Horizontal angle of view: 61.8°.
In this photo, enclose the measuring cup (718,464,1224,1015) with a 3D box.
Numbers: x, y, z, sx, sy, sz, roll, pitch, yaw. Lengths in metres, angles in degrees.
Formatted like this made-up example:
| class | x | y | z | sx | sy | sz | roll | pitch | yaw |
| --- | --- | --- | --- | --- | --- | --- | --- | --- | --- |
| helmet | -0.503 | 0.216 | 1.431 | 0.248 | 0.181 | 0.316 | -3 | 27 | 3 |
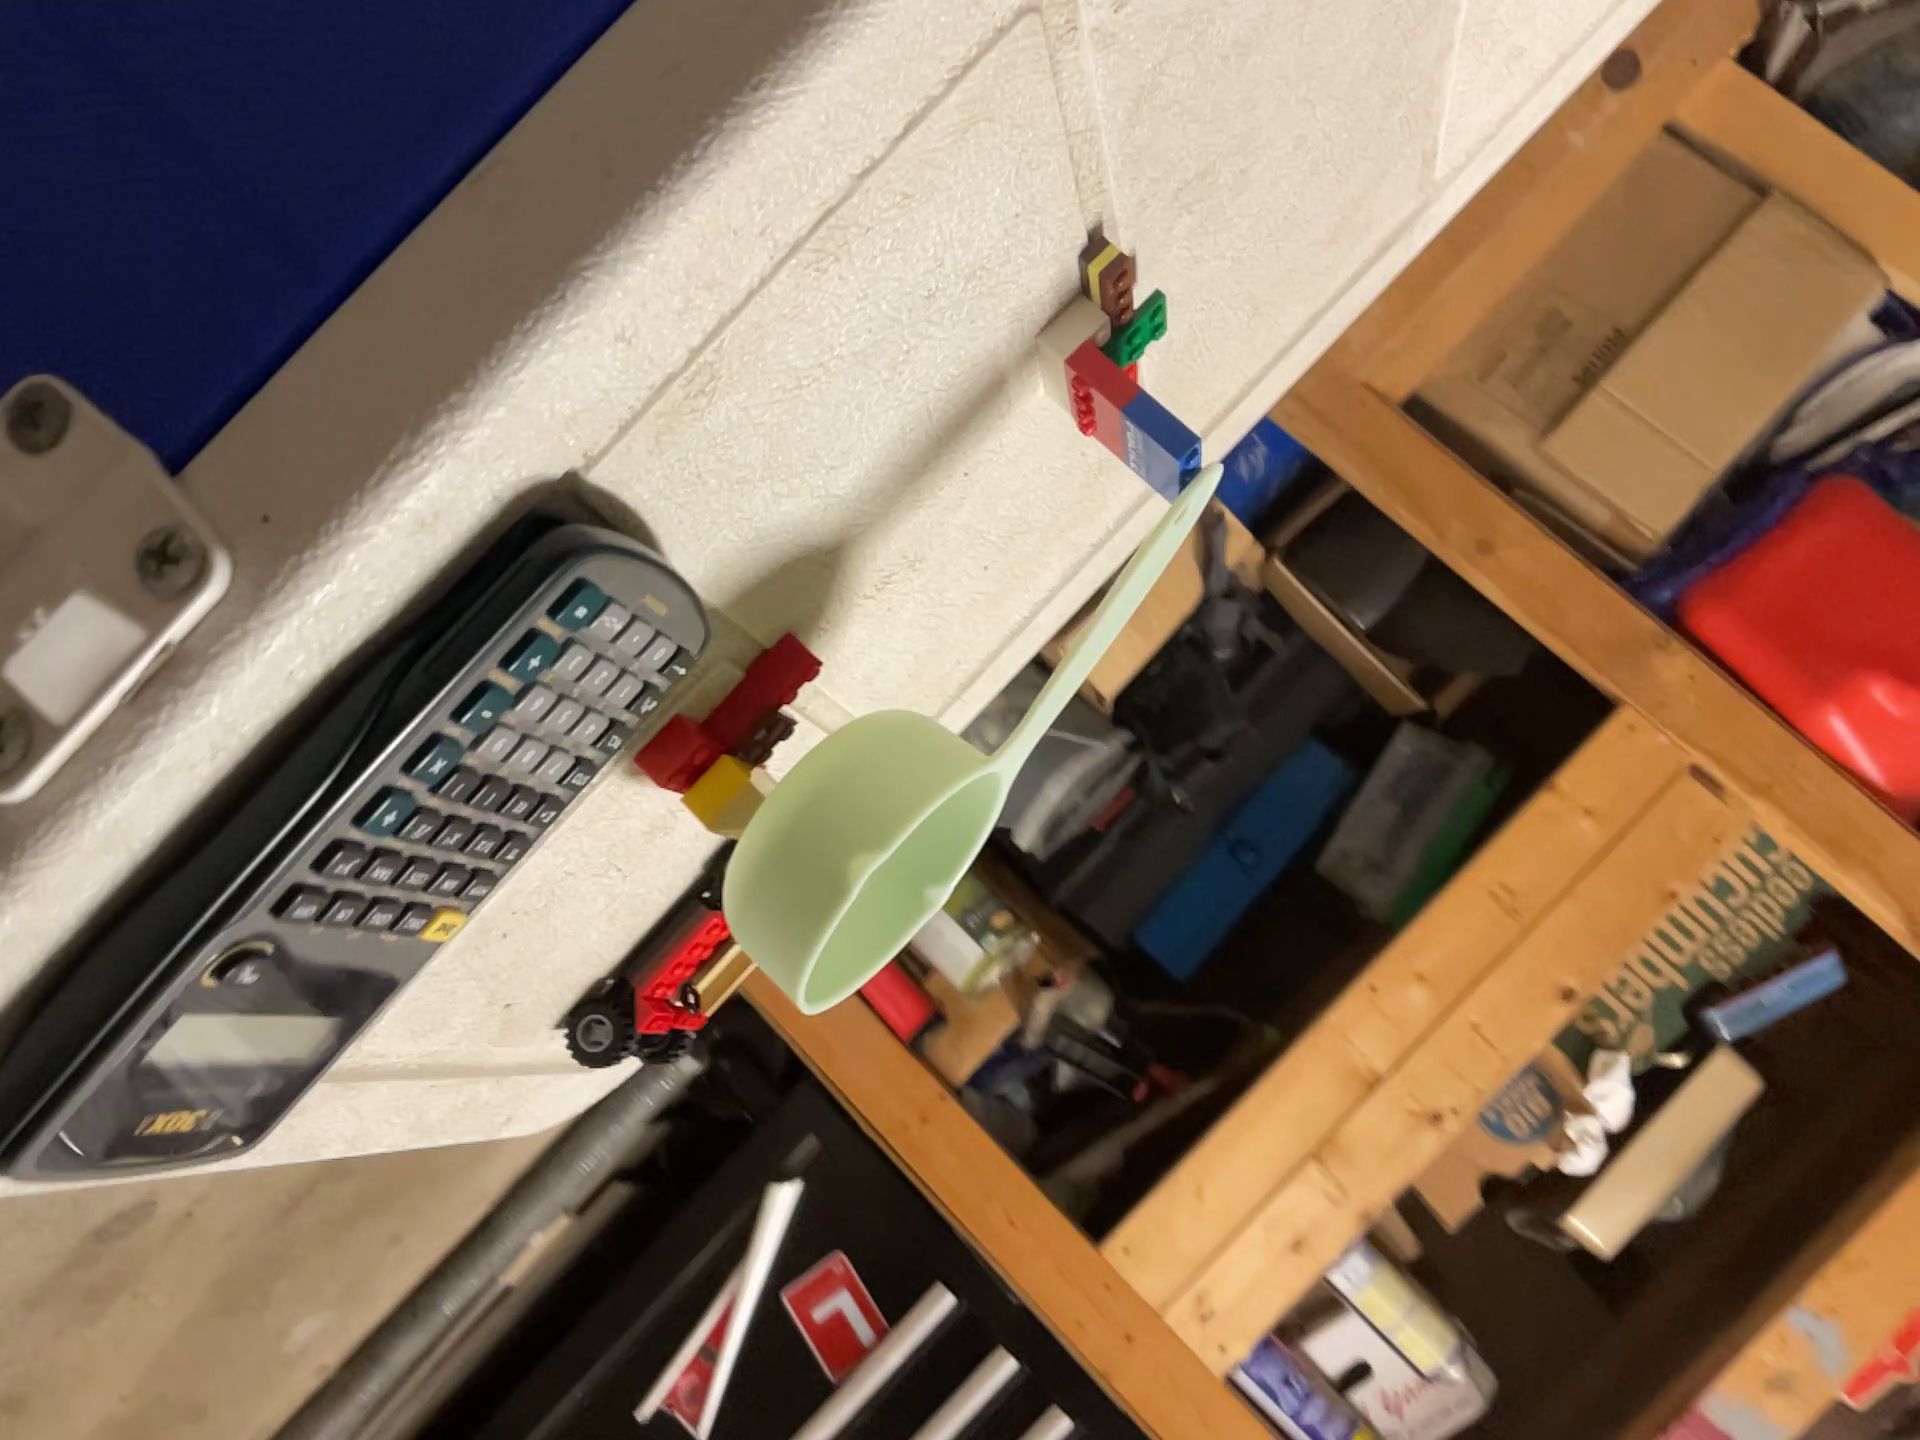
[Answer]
| class | x | y | z | sx | sy | sz | roll | pitch | yaw |
| --- | --- | --- | --- | --- | --- | --- | --- | --- | --- |
| measuring cup | 0.002 | -0.004 | 0.395 | 0.167 | 0.038 | 0.083 | -53 | 163 | -1 |
